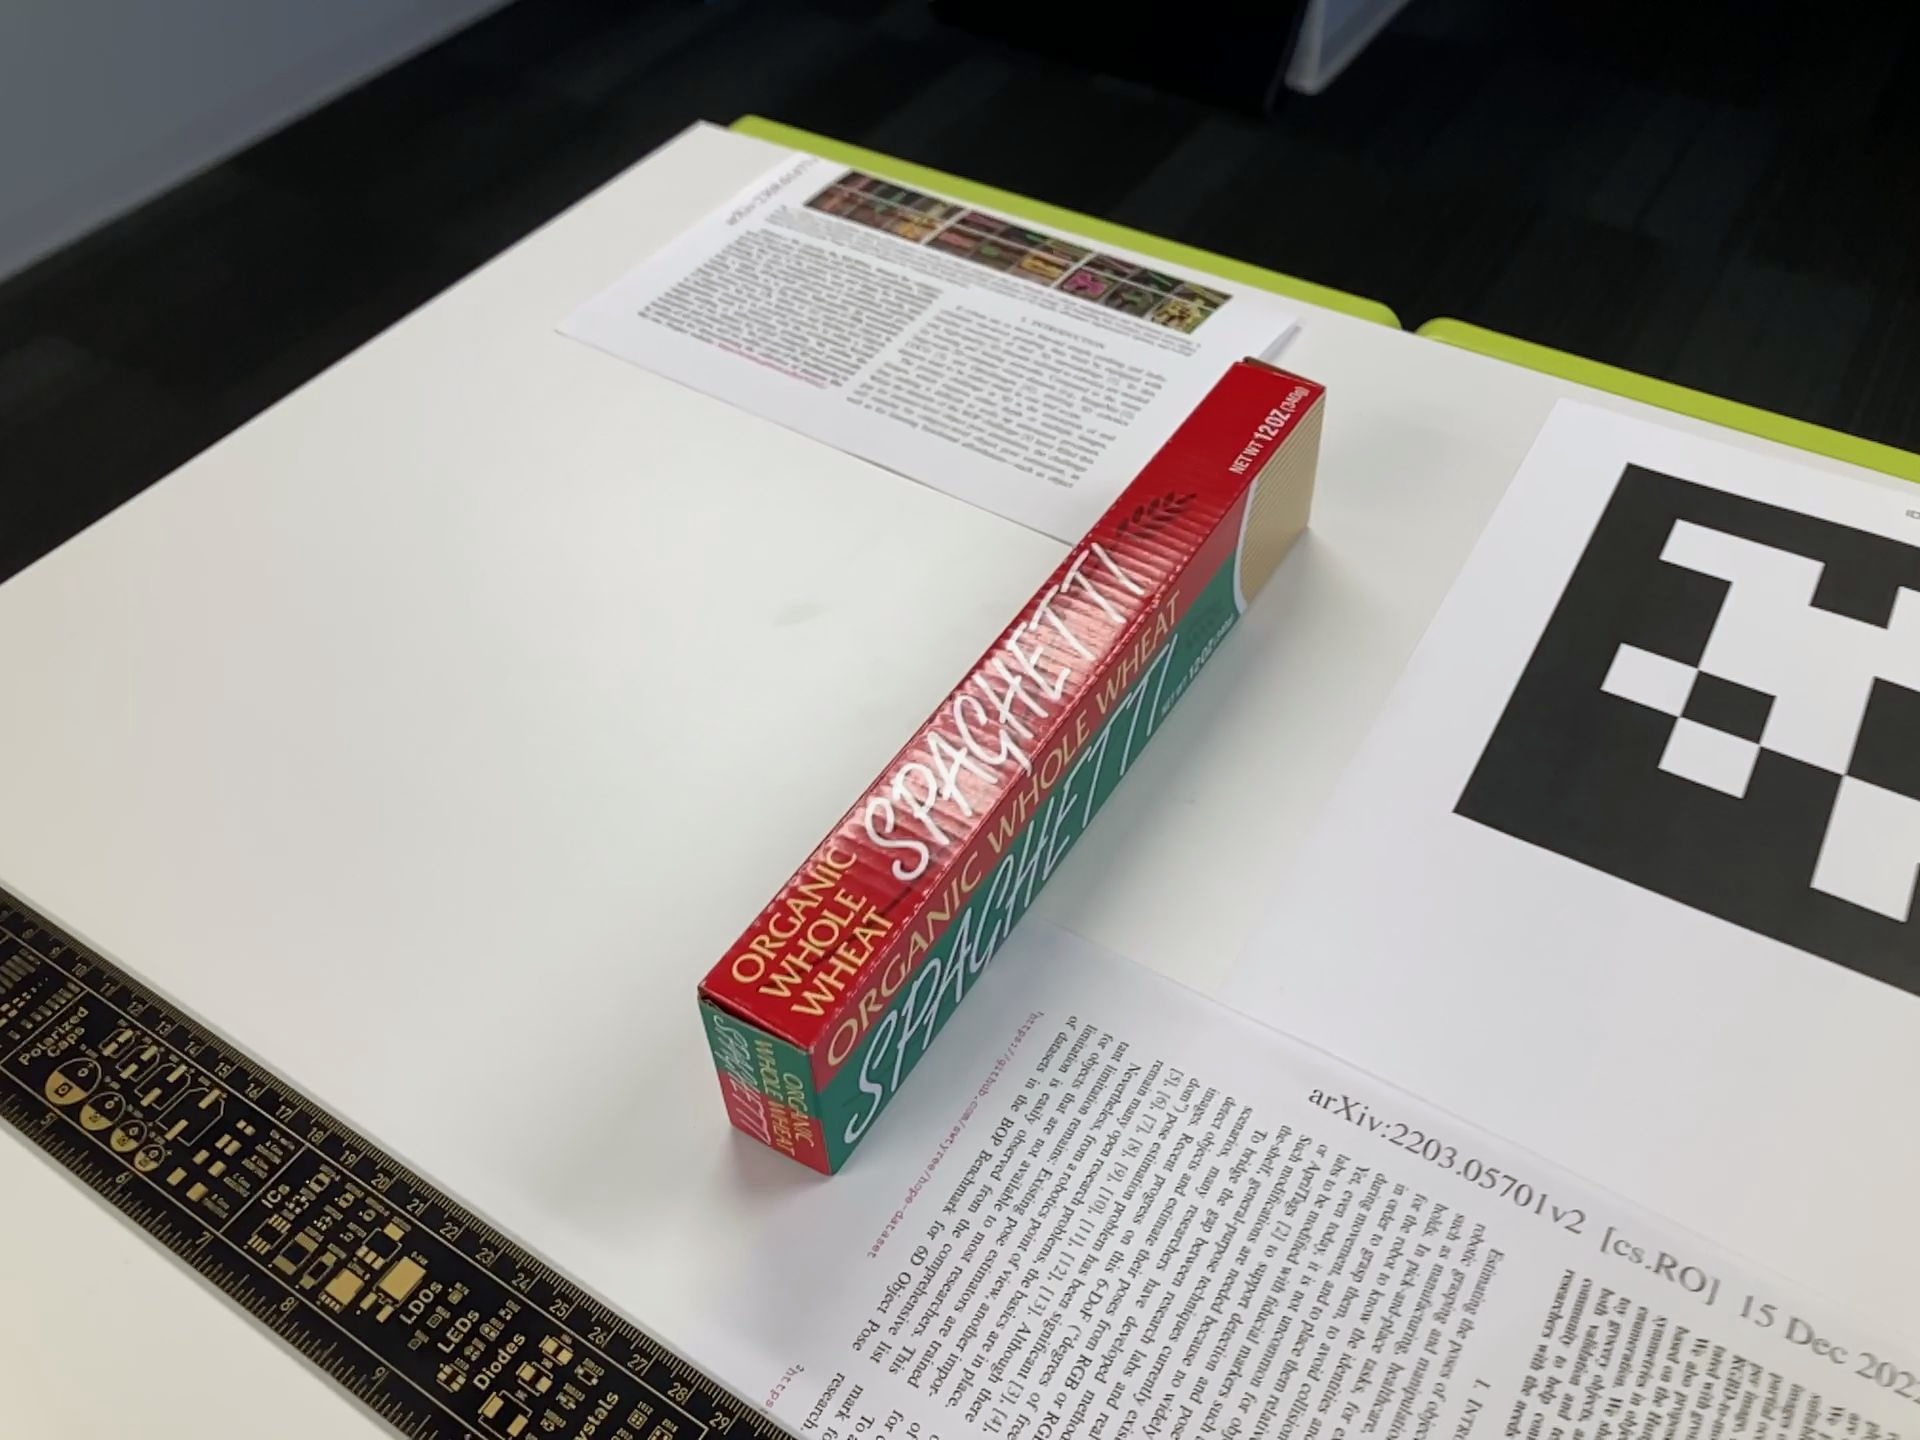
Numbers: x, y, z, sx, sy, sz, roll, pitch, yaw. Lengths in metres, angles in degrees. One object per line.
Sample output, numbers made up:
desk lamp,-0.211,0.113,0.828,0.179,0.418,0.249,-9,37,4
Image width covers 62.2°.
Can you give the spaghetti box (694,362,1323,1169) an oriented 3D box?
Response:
spaghetti box,0.025,-0.002,0.391,0.028,0.050,0.250,22,51,24
